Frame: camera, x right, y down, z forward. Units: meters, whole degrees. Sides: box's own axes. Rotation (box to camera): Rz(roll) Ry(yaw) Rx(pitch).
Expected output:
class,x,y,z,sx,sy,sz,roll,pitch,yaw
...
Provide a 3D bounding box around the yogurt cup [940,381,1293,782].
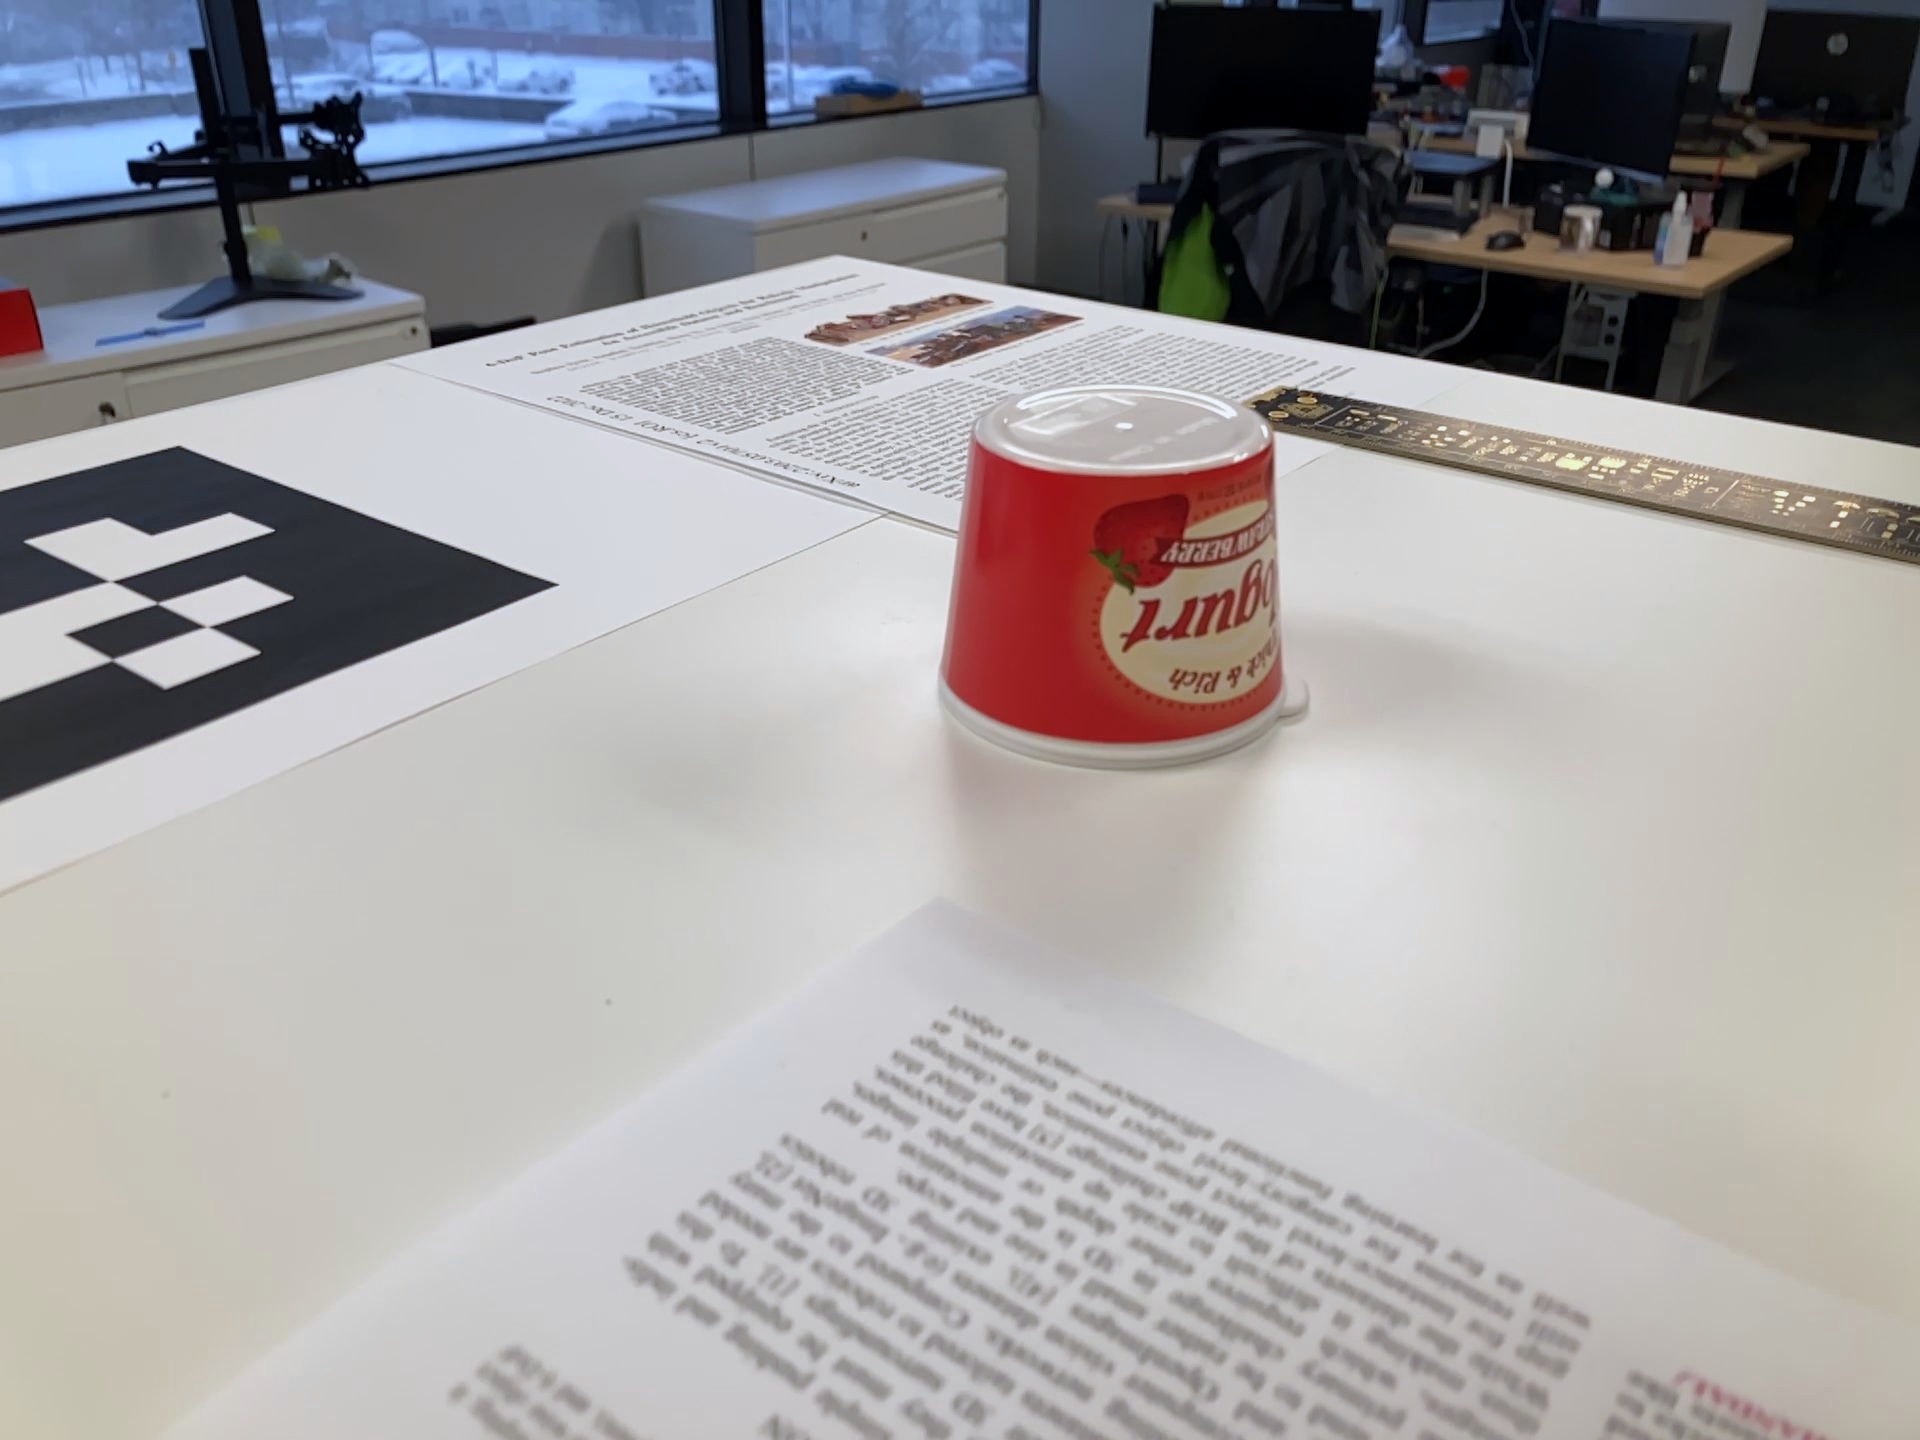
class,x,y,z,sx,sy,sz,roll,pitch,yaw
yogurt cup,0.030,-0.030,0.297,0.072,0.054,0.072,-1,28,0
